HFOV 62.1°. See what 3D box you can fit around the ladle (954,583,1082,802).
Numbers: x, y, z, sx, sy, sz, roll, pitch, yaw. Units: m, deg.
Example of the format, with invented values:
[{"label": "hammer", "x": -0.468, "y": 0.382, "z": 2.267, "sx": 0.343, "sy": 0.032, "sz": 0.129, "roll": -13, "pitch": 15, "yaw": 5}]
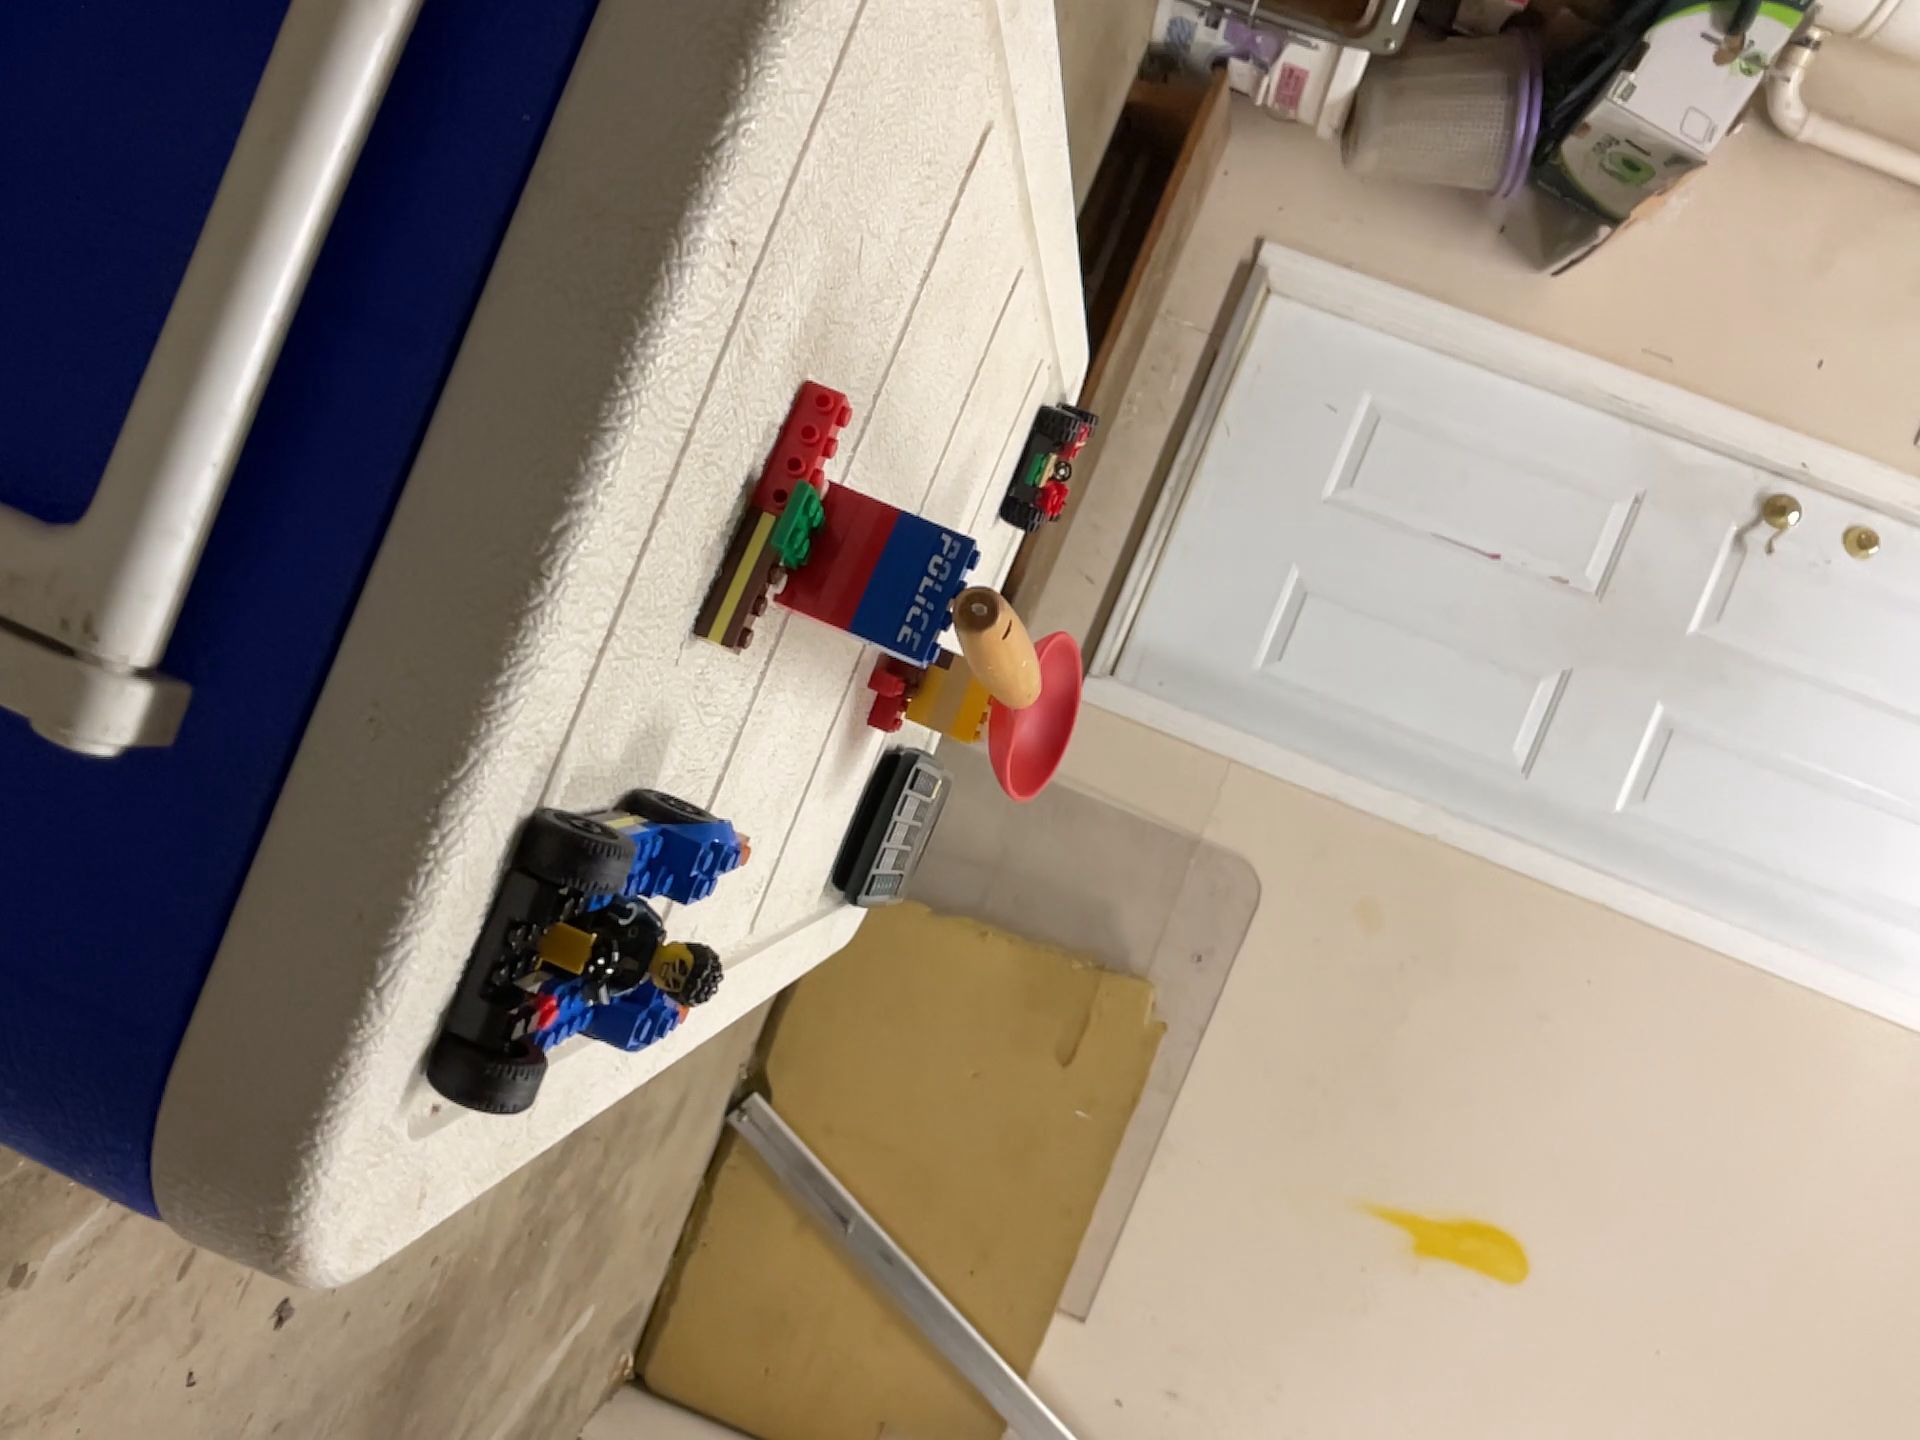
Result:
[{"label": "ladle", "x": 0.018, "y": -0.012, "z": 0.509, "sx": 0.315, "sy": 0.031, "sz": 0.069, "roll": 43, "pitch": 65, "yaw": -83}]
